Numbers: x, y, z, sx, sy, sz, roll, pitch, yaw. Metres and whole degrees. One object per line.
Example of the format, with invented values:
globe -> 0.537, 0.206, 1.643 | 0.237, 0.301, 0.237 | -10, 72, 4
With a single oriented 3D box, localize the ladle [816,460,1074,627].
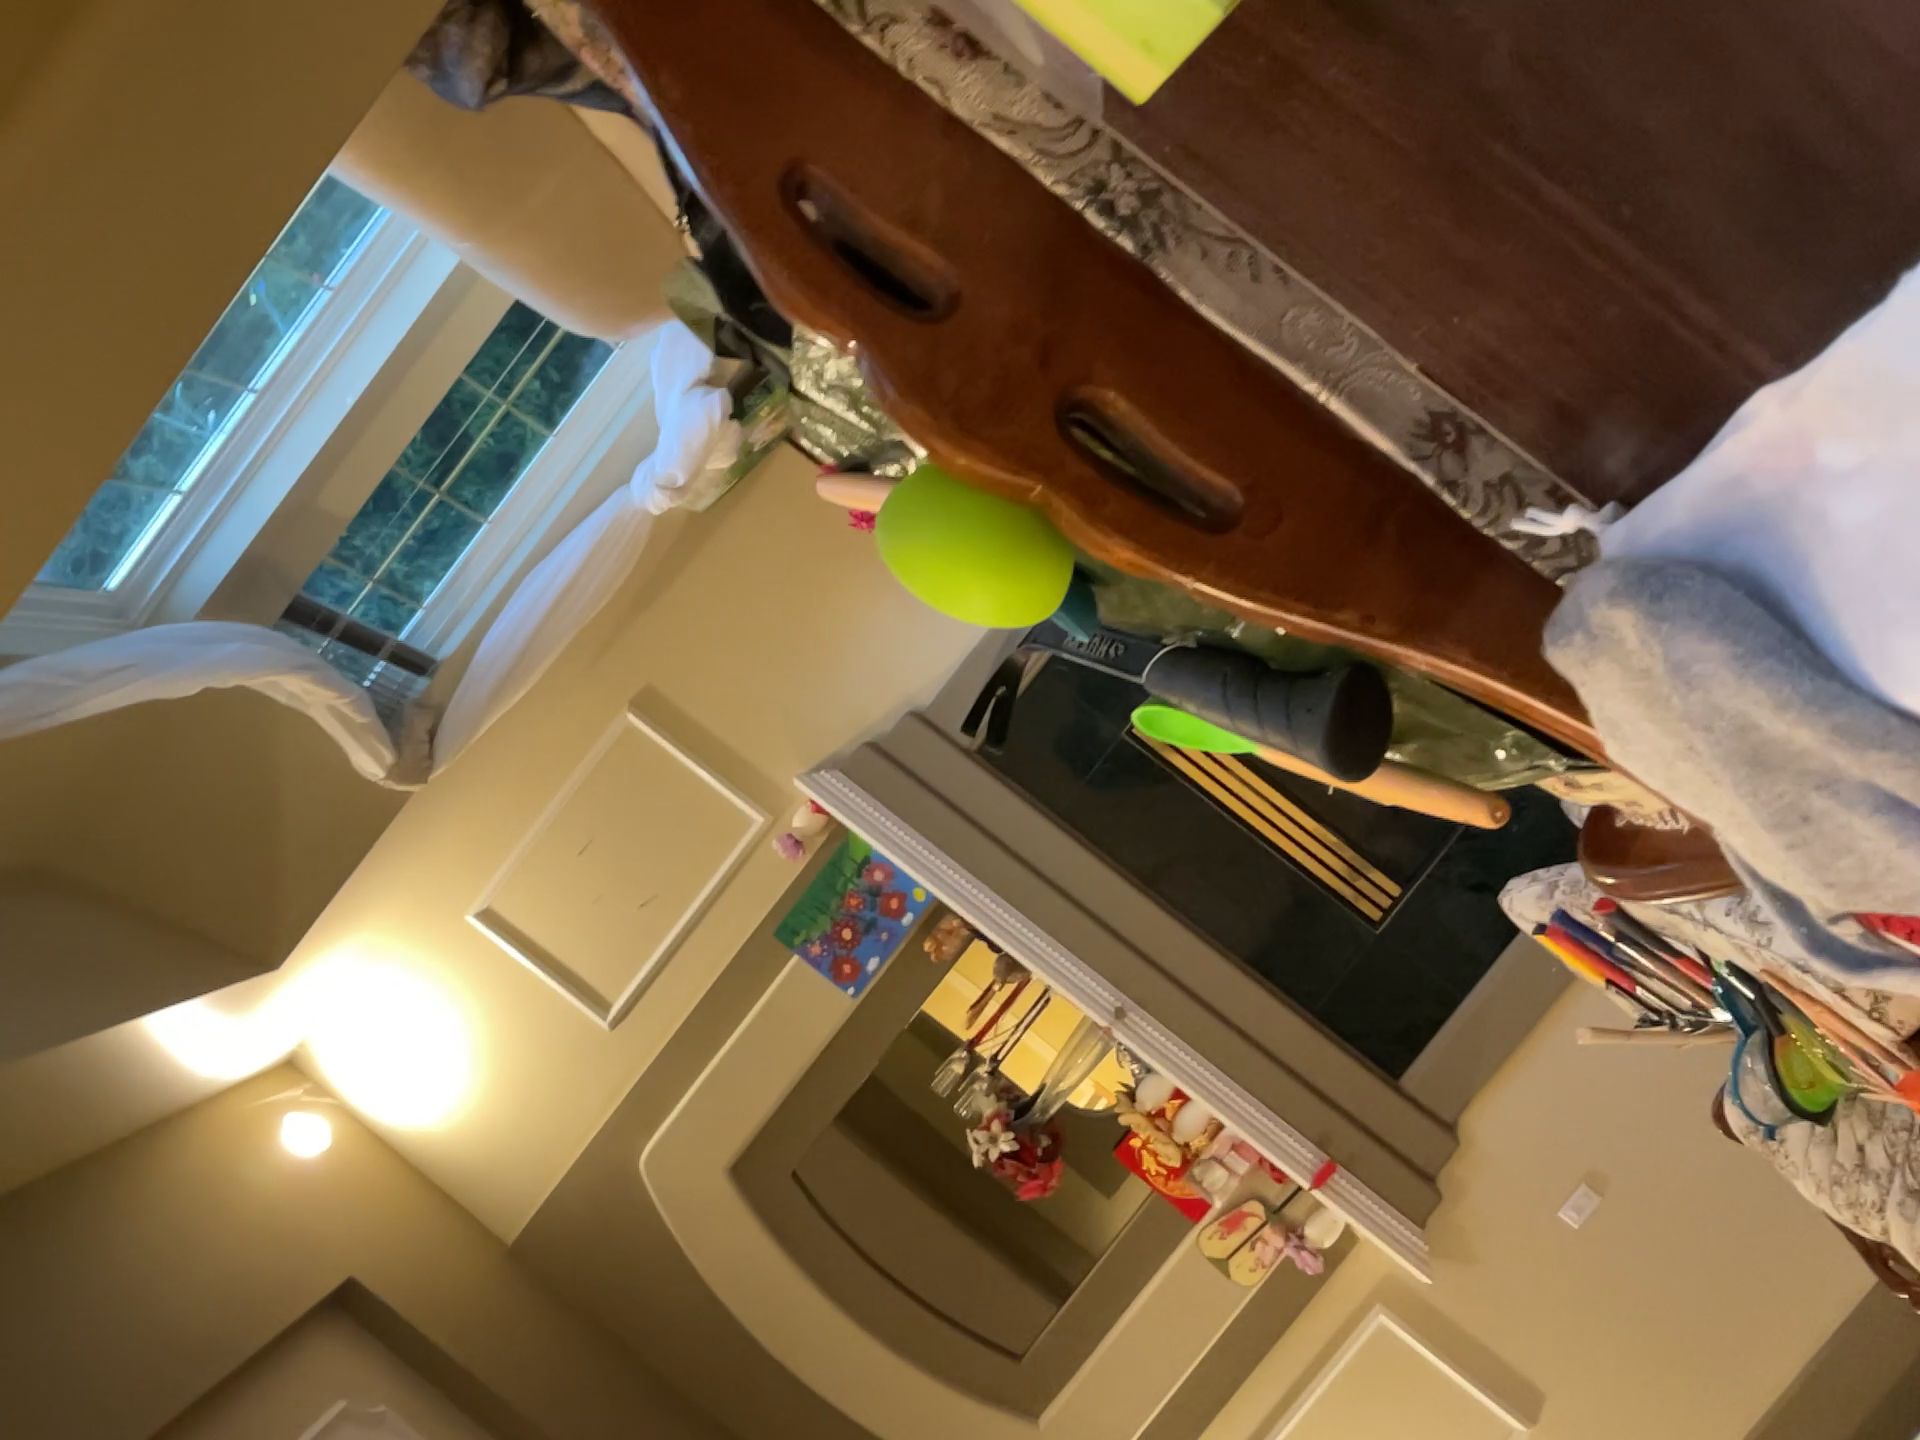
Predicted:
ladle -> -0.029, -0.090, 0.717 | 0.078, 0.062, 0.320 | 10, -173, -19

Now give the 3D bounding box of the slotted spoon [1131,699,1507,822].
slotted spoon -> 0.164, 0.016, 0.766 | 0.070, 0.031, 0.314 | 21, 180, -18

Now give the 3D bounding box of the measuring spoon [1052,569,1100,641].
measuring spoon -> 0.026, -0.073, 0.722 | 0.042, 0.021, 0.129 | 38, -177, -39

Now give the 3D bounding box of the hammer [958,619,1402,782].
hammer -> 0.093, -0.024, 0.776 | 0.036, 0.149, 0.409 | 28, -179, -19
